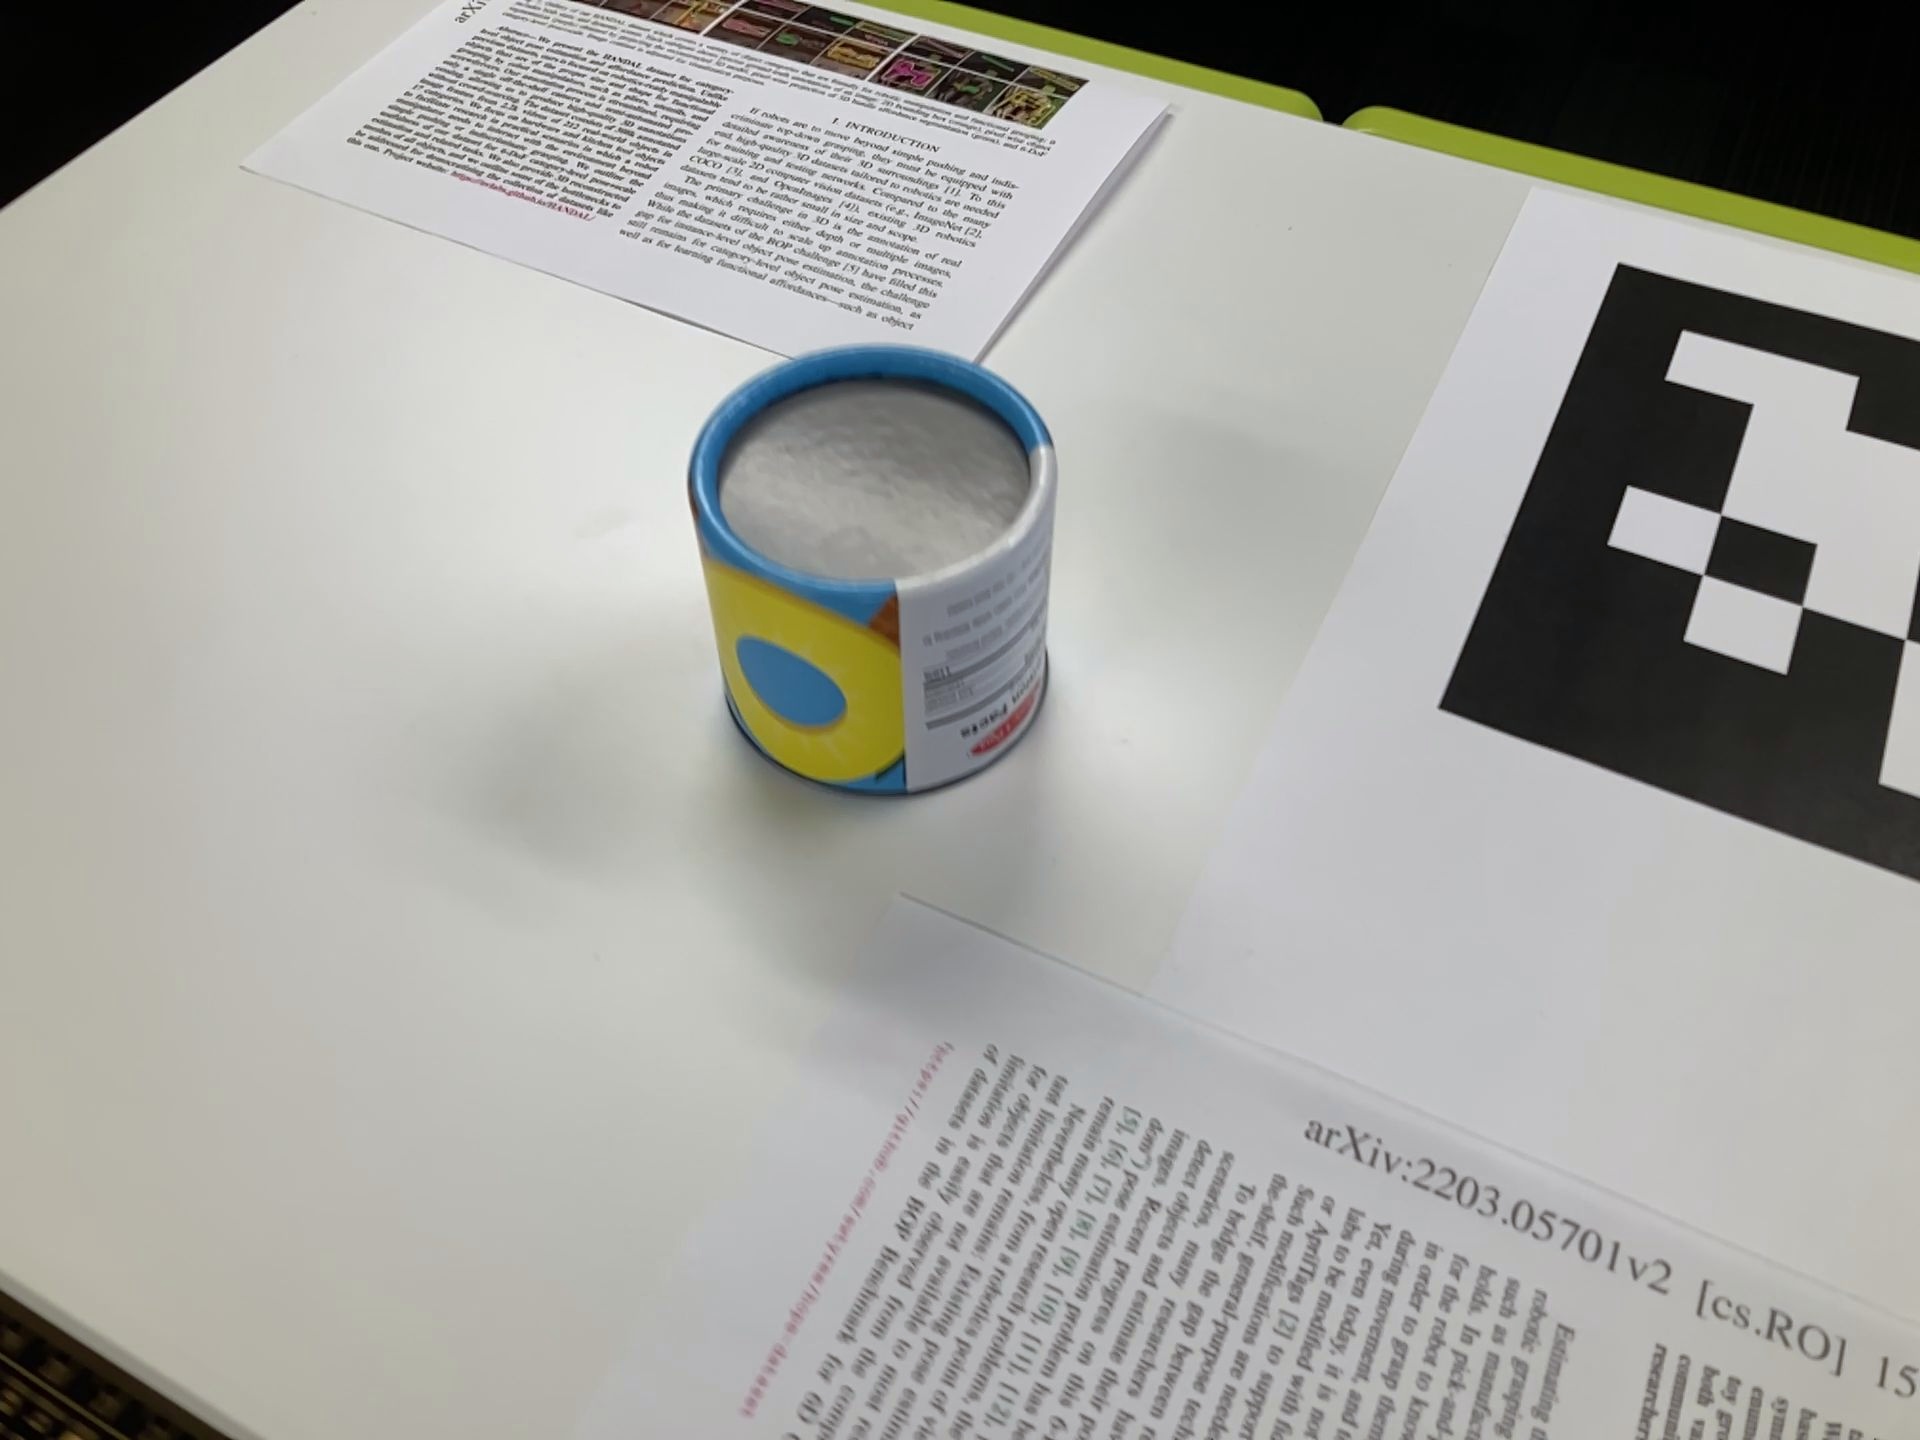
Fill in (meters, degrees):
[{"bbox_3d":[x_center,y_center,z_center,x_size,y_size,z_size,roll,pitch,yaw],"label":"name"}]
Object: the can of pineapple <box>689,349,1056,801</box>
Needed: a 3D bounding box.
[{"bbox_3d":[-0.017,-0.029,0.303,0.071,0.058,0.071,0,52,0],"label":"can of pineapple"}]
